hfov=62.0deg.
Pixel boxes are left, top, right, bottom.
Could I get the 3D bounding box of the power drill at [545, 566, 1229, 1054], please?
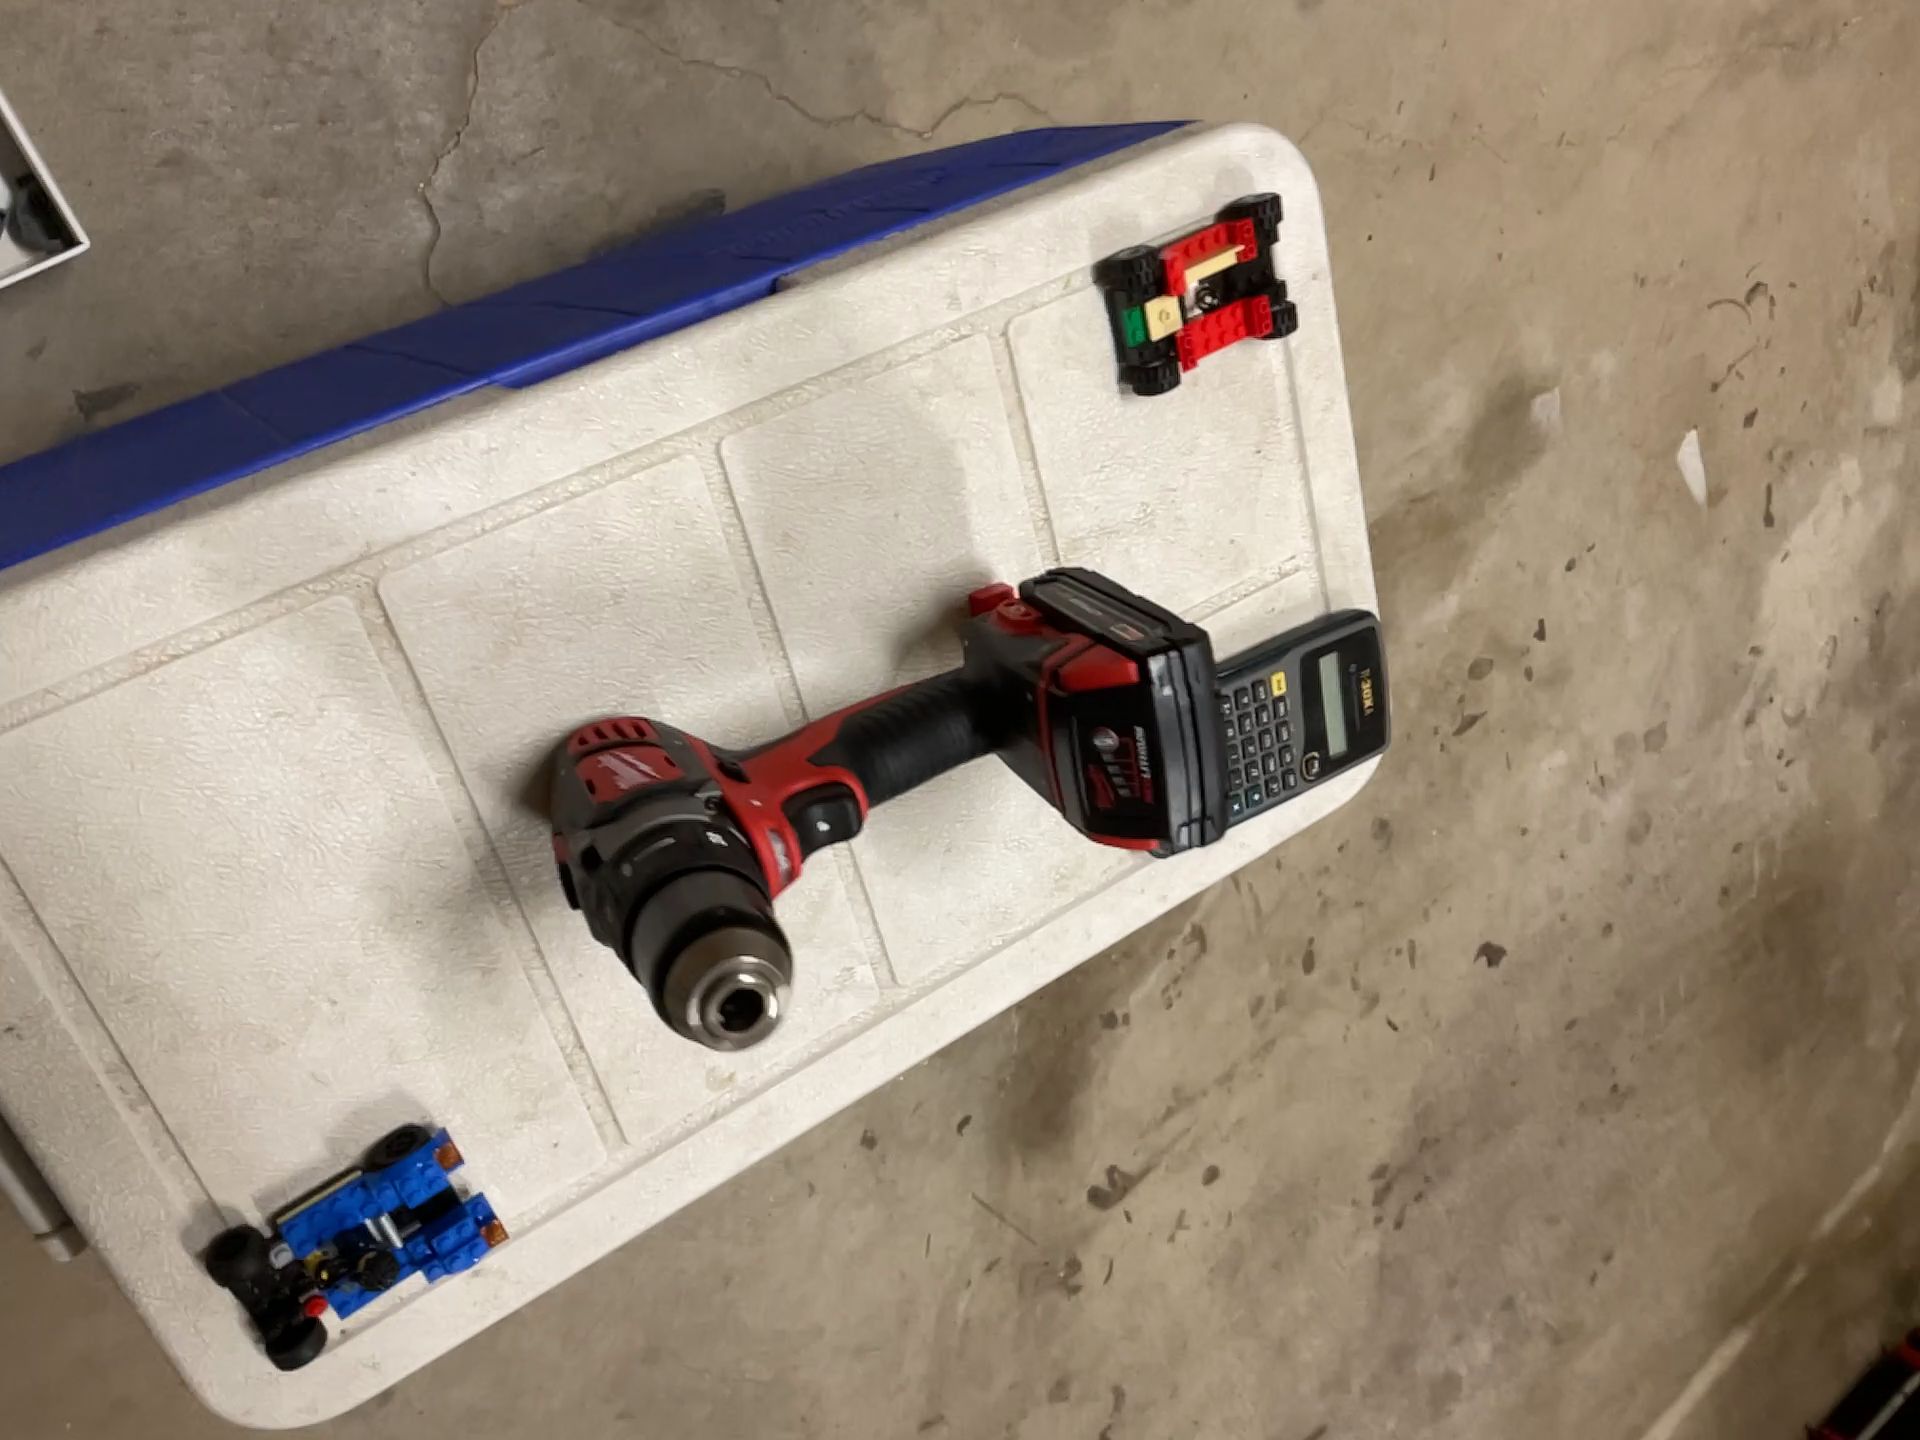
[{"bbox_3d":[-0.023,0.028,0.543,0.227,0.188,0.080,-17,114,-16],"label":"power drill"}]
